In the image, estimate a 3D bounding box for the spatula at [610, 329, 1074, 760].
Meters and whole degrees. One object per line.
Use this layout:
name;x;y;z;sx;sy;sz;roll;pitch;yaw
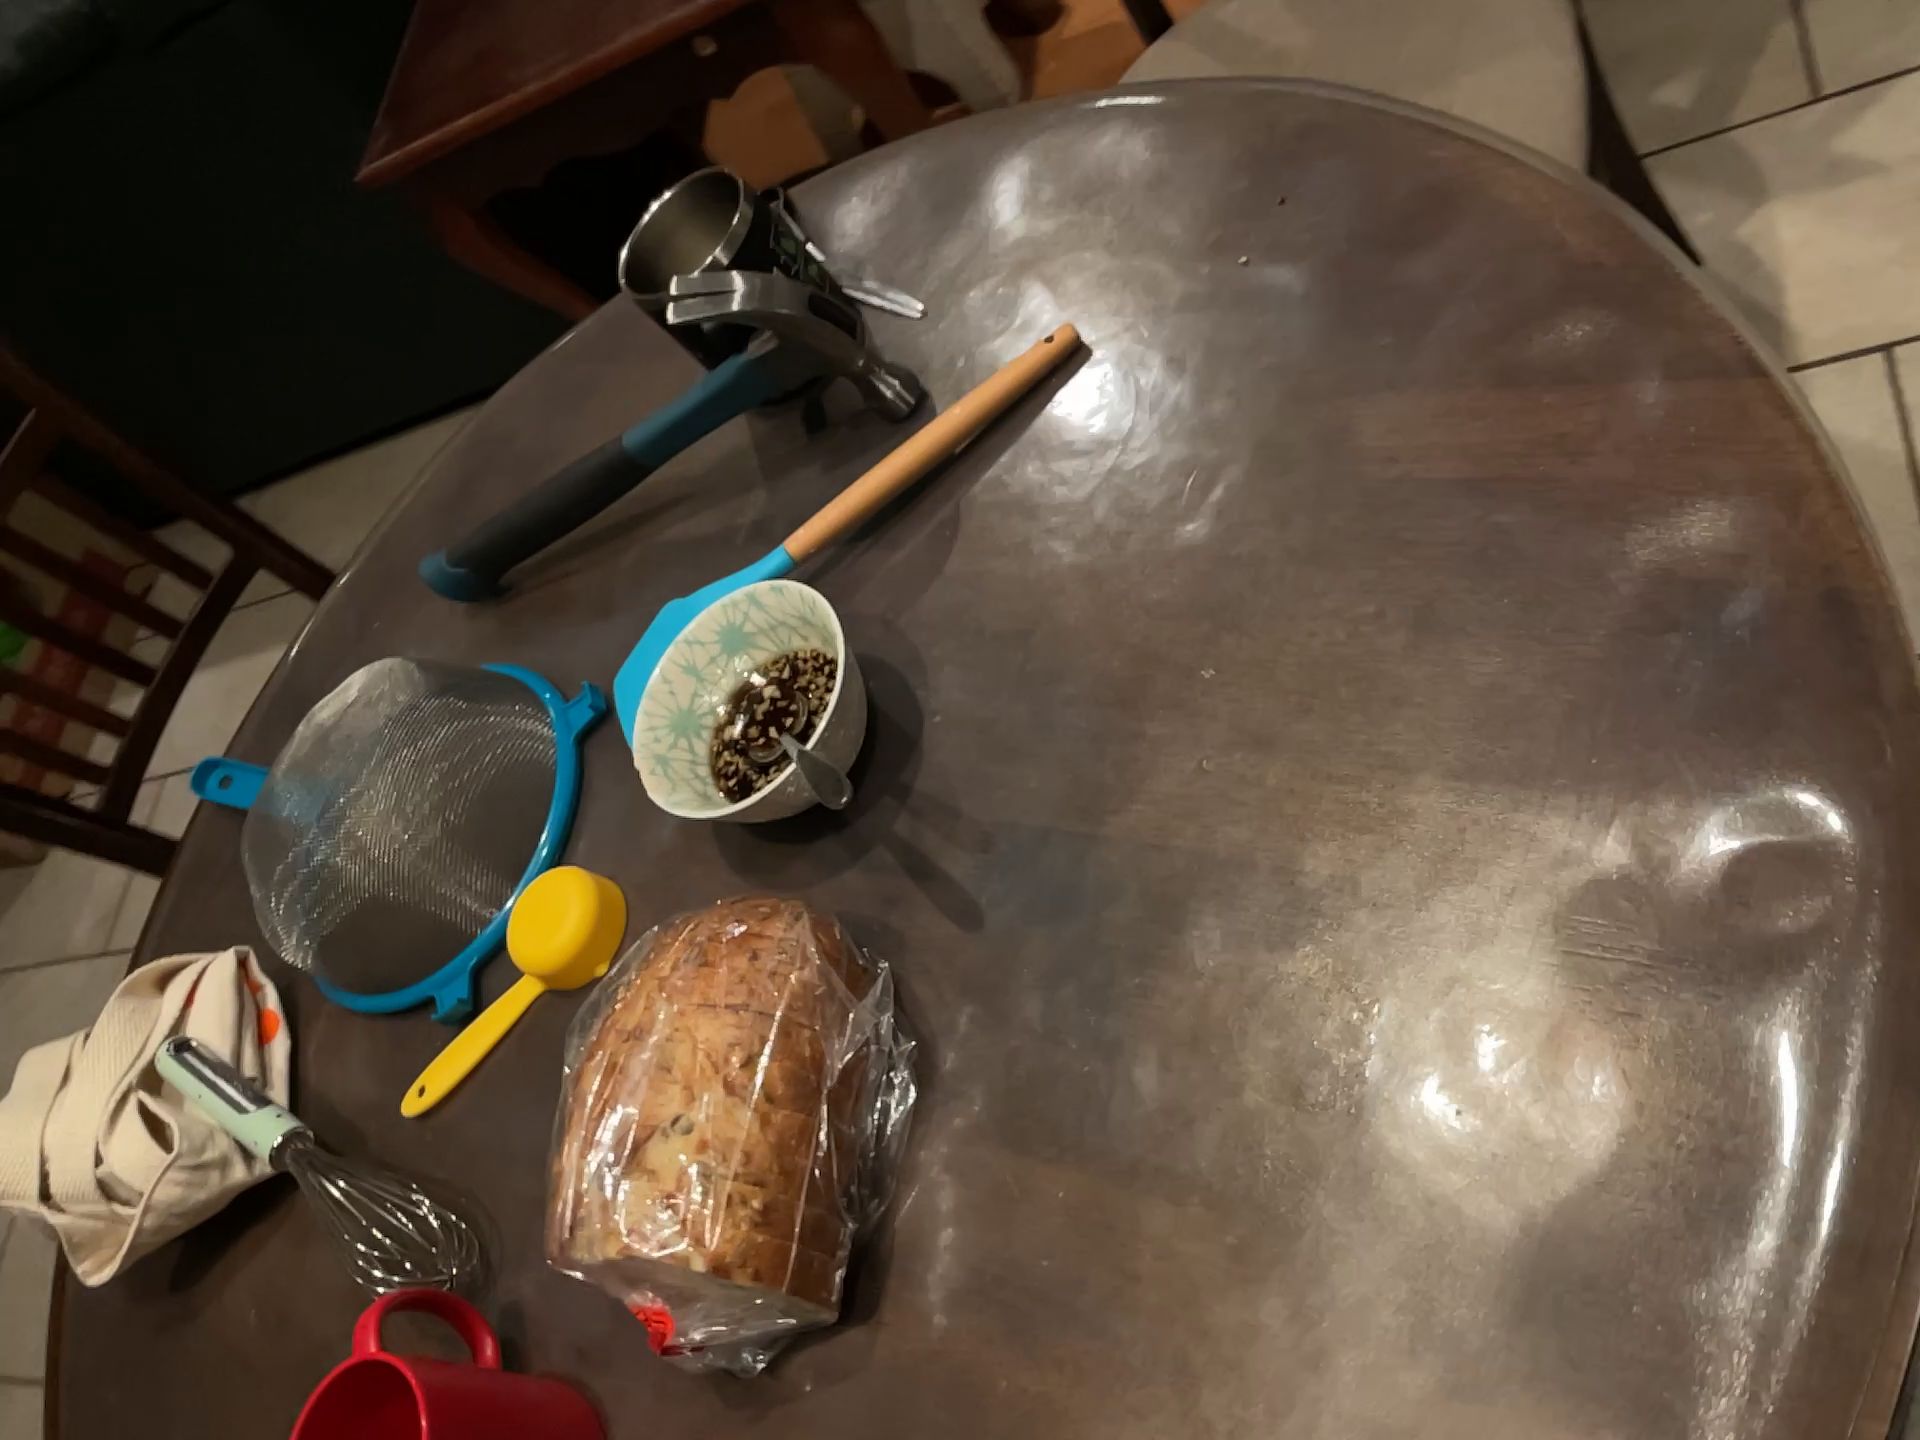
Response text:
spatula;-0.066;-0.094;0.832;0.317;0.044;0.082;-37;48;6

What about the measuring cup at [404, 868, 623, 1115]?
measuring cup;-0.233;0.137;0.803;0.156;0.029;0.062;-46;47;1

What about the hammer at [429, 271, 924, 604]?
hammer;-0.185;-0.145;0.902;0.331;0.128;0.033;-26;48;32

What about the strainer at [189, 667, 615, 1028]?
strainer;-0.367;0.040;0.914;0.340;0.095;0.211;8;68;34

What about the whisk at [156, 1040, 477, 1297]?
whisk;-0.326;0.215;0.791;0.246;0.058;0.059;21;107;32
